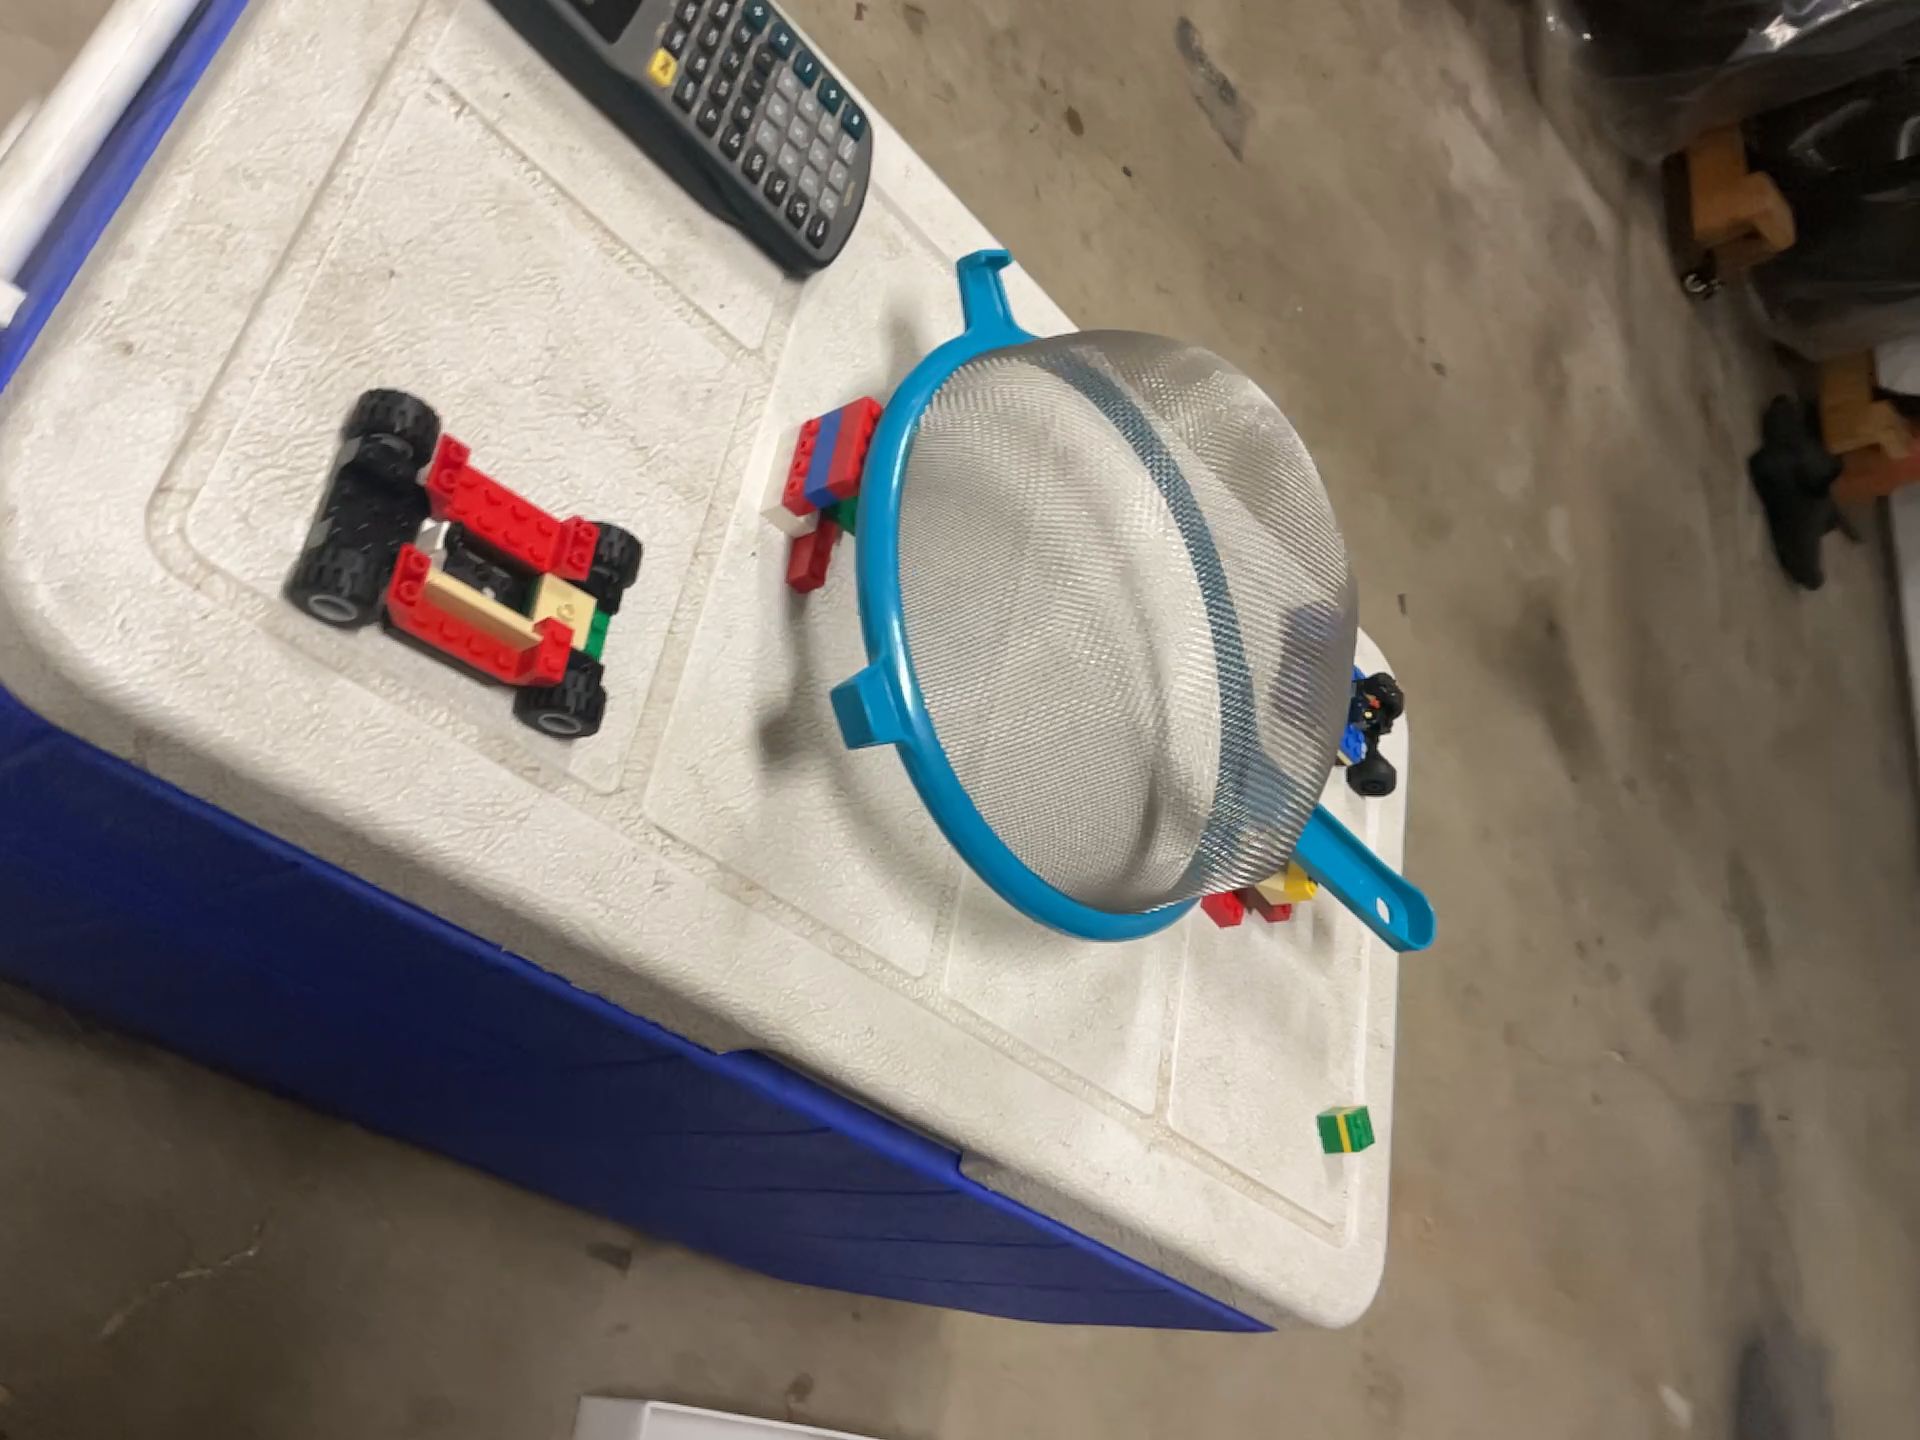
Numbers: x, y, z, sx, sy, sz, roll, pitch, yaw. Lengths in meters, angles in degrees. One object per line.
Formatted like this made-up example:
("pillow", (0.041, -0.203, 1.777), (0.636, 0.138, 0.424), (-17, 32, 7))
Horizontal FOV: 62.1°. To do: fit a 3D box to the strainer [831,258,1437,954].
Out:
("strainer", (0.112, -0.003, 0.552), (0.340, 0.095, 0.211), (38, 51, -35))
